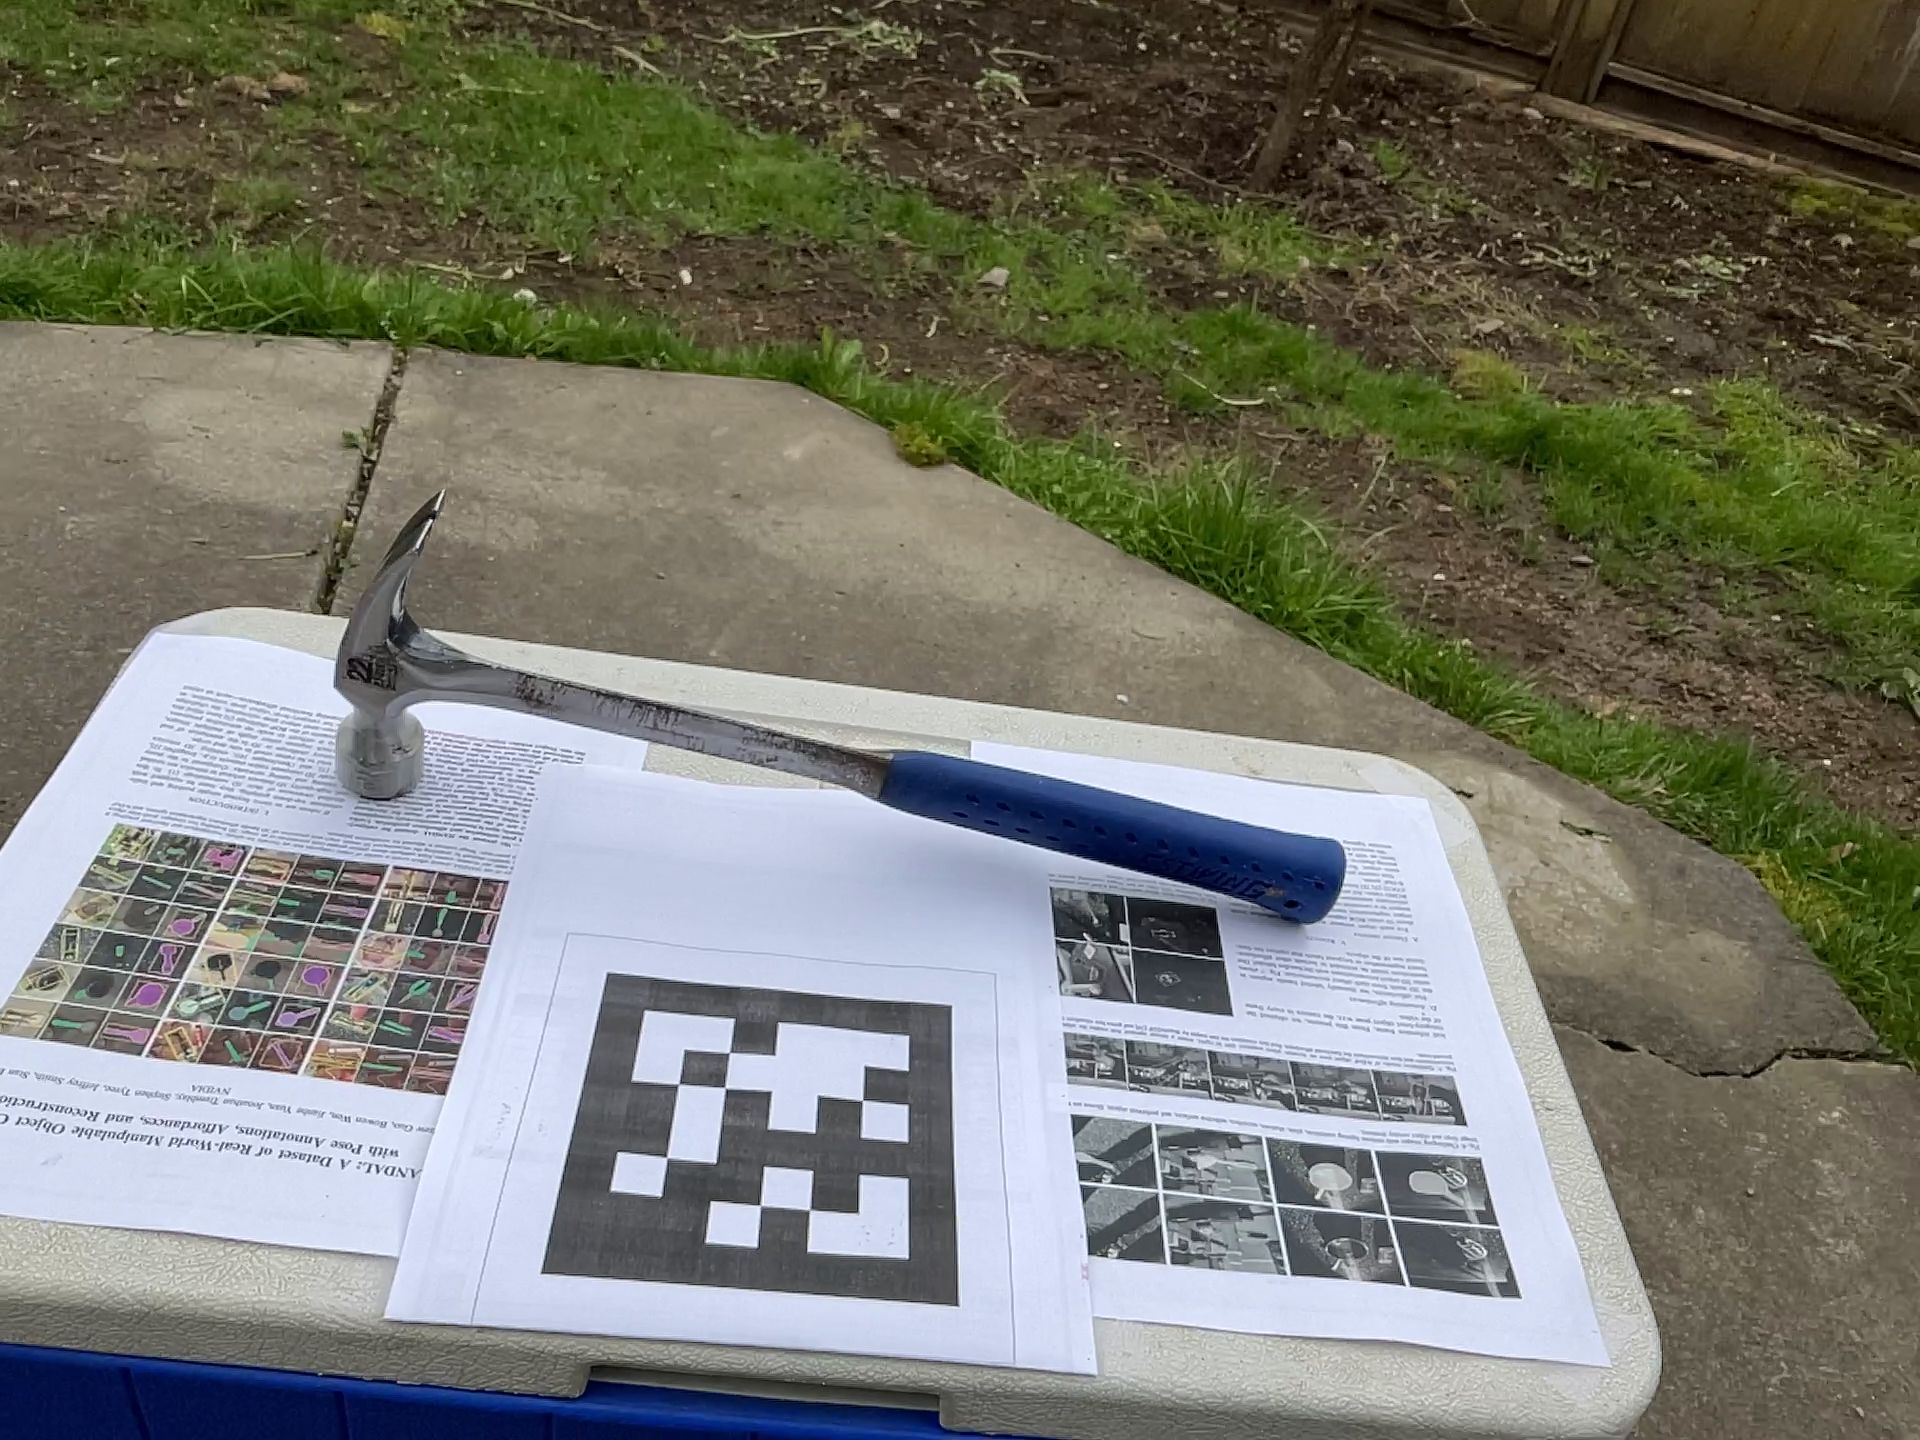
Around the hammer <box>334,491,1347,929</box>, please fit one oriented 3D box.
[{"bbox_3d":[-0.040,0.018,0.633,0.405,0.144,0.035,14,44,-9],"label":"hammer"}]
